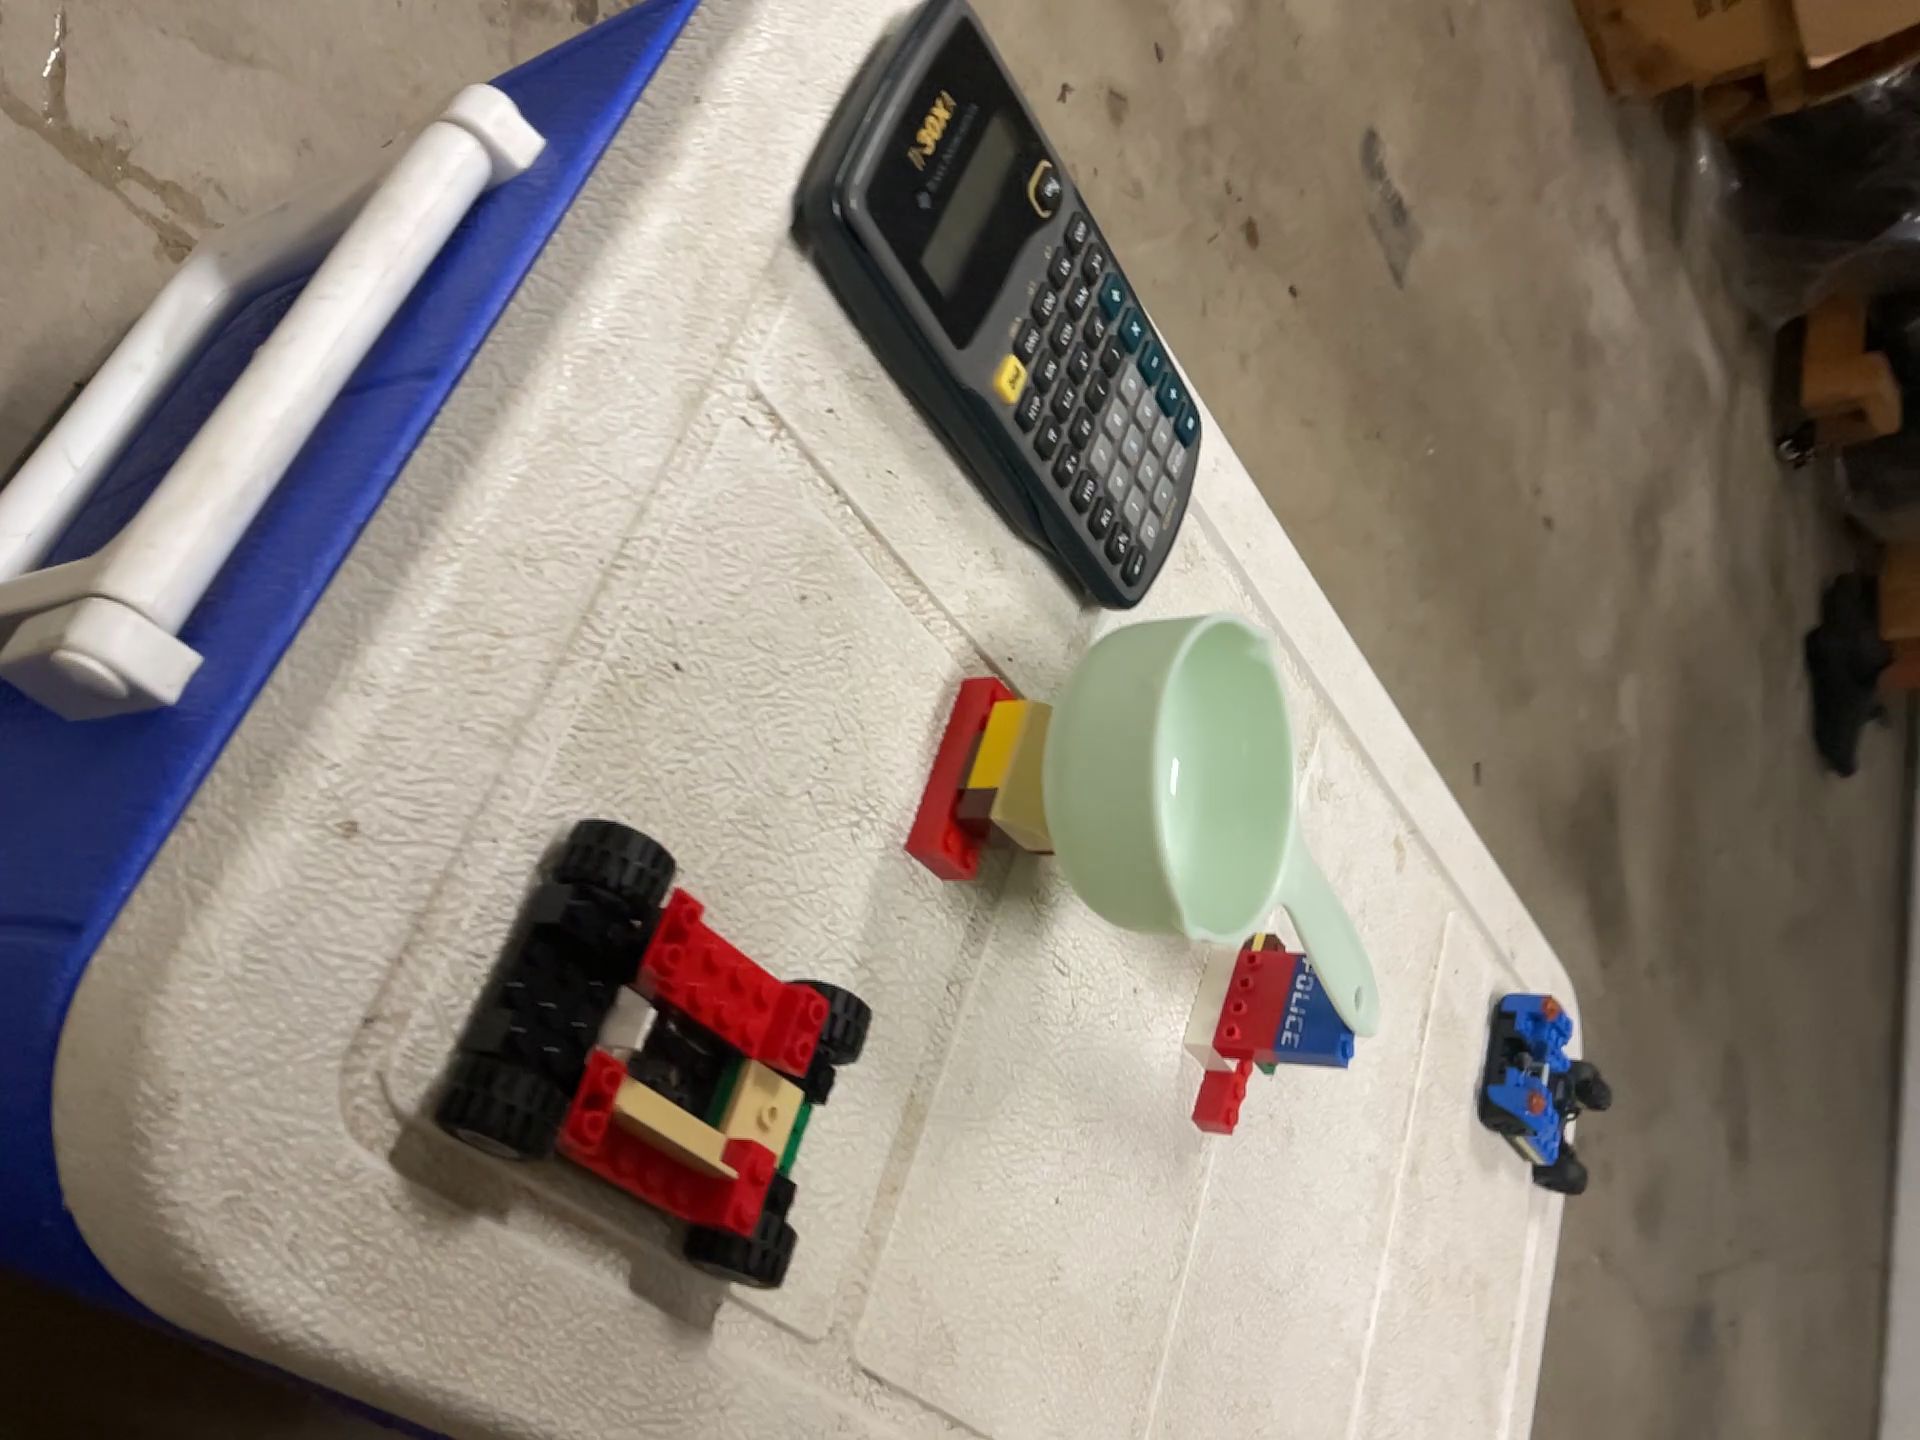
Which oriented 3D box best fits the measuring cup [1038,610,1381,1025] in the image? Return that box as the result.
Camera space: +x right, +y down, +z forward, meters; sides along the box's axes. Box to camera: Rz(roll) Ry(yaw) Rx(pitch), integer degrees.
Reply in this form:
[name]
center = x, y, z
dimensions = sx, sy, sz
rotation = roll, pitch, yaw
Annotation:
[measuring cup]
center = 0.068, 0.038, 0.406
dimensions = 0.167, 0.038, 0.083
rotation = 50, 49, -45
